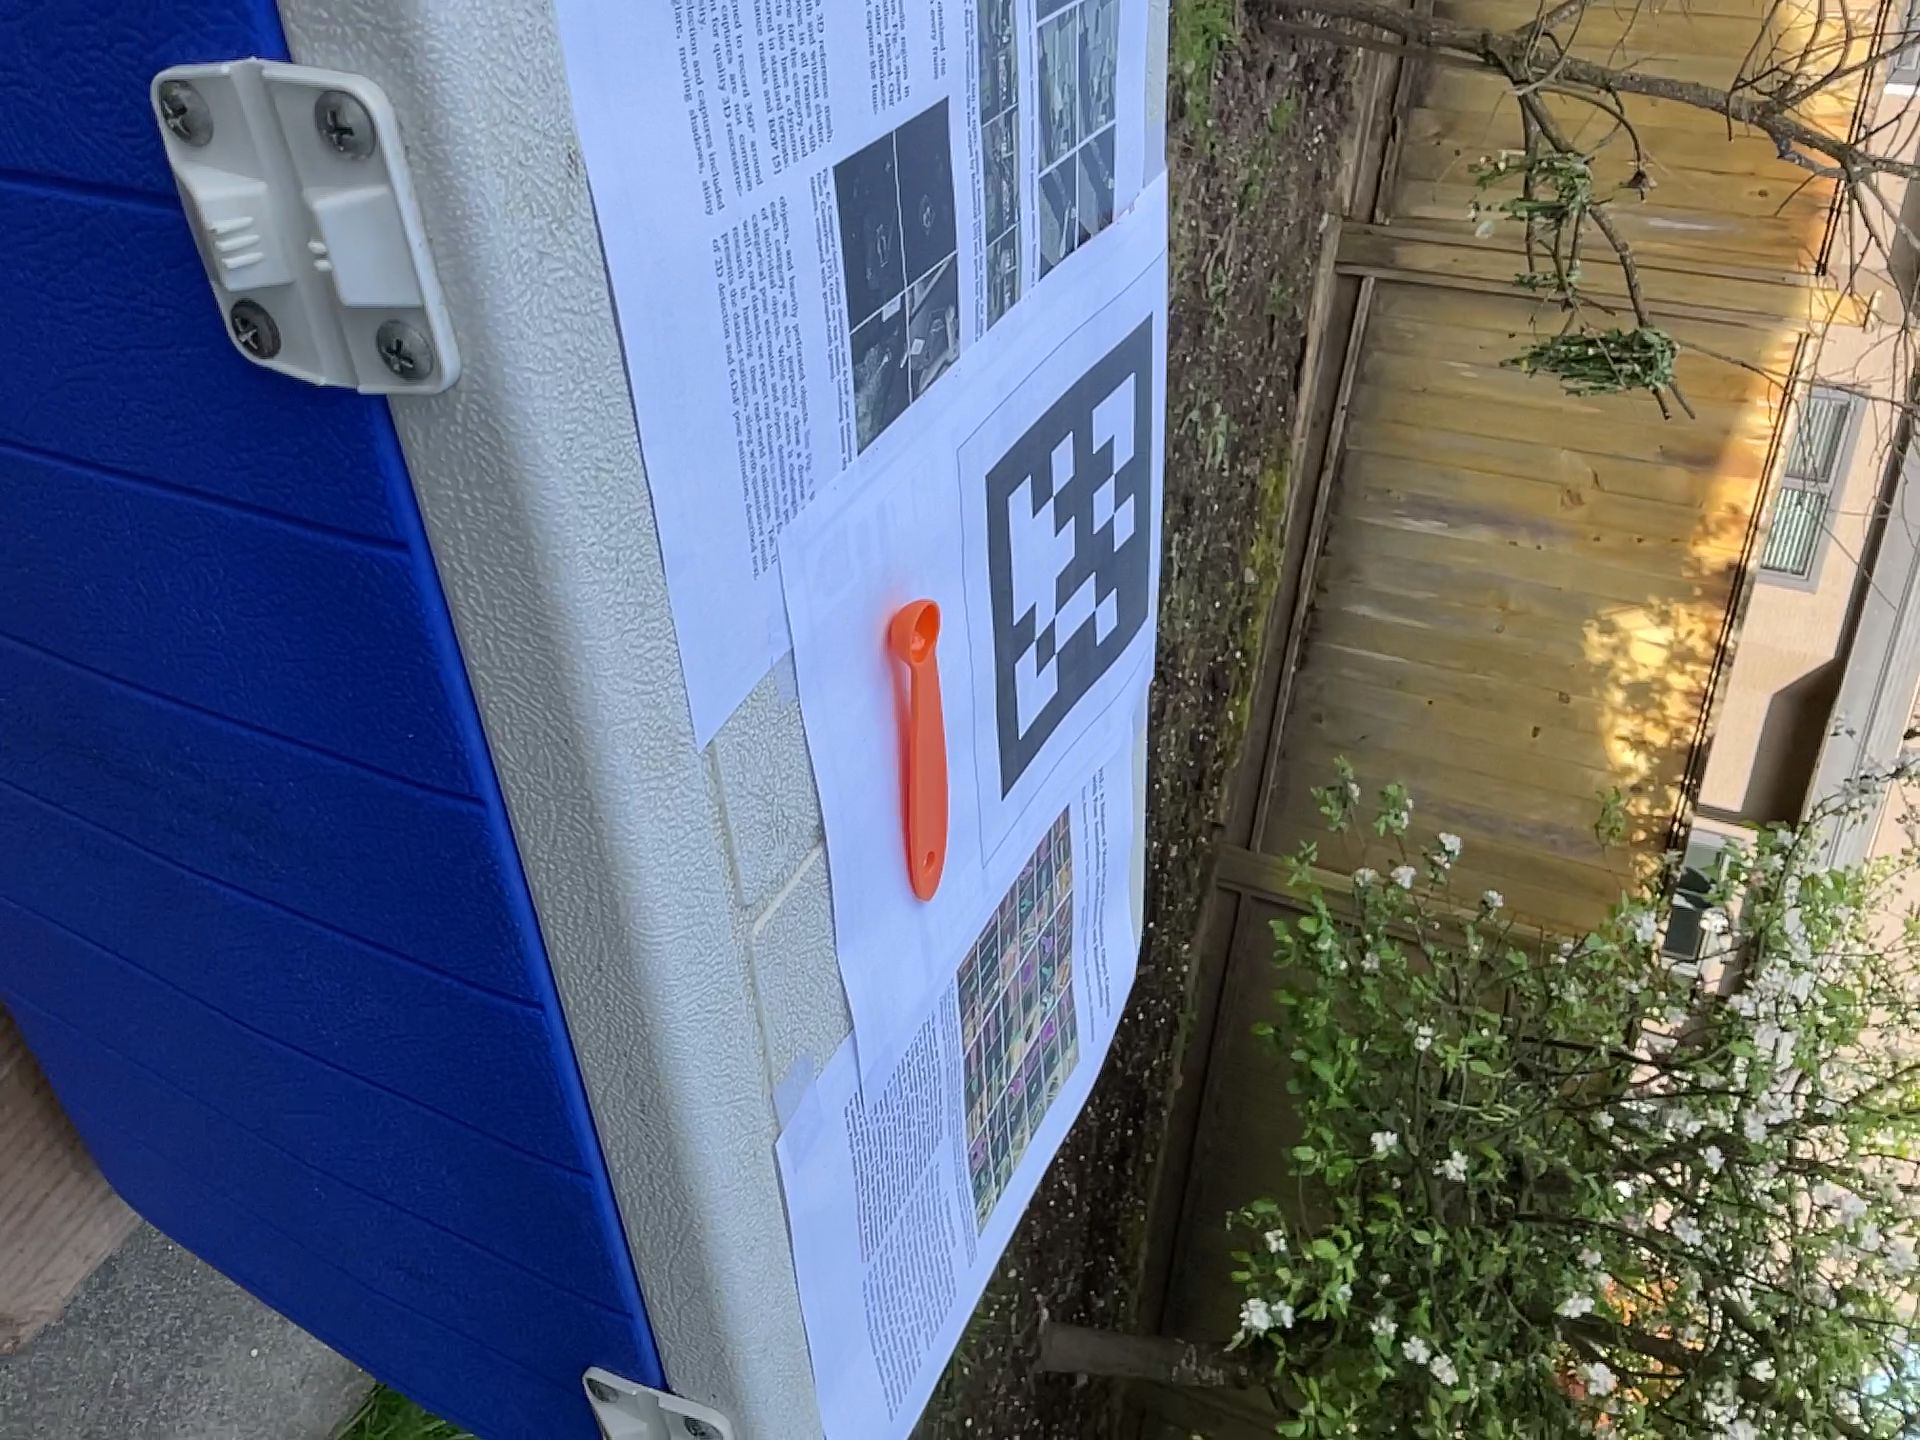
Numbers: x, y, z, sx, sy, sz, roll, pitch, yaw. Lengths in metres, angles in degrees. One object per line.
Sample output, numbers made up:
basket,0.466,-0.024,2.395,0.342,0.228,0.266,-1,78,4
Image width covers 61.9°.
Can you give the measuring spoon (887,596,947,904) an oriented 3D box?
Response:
measuring spoon,-0.014,0.011,0.473,0.021,0.011,0.116,-53,152,-43
